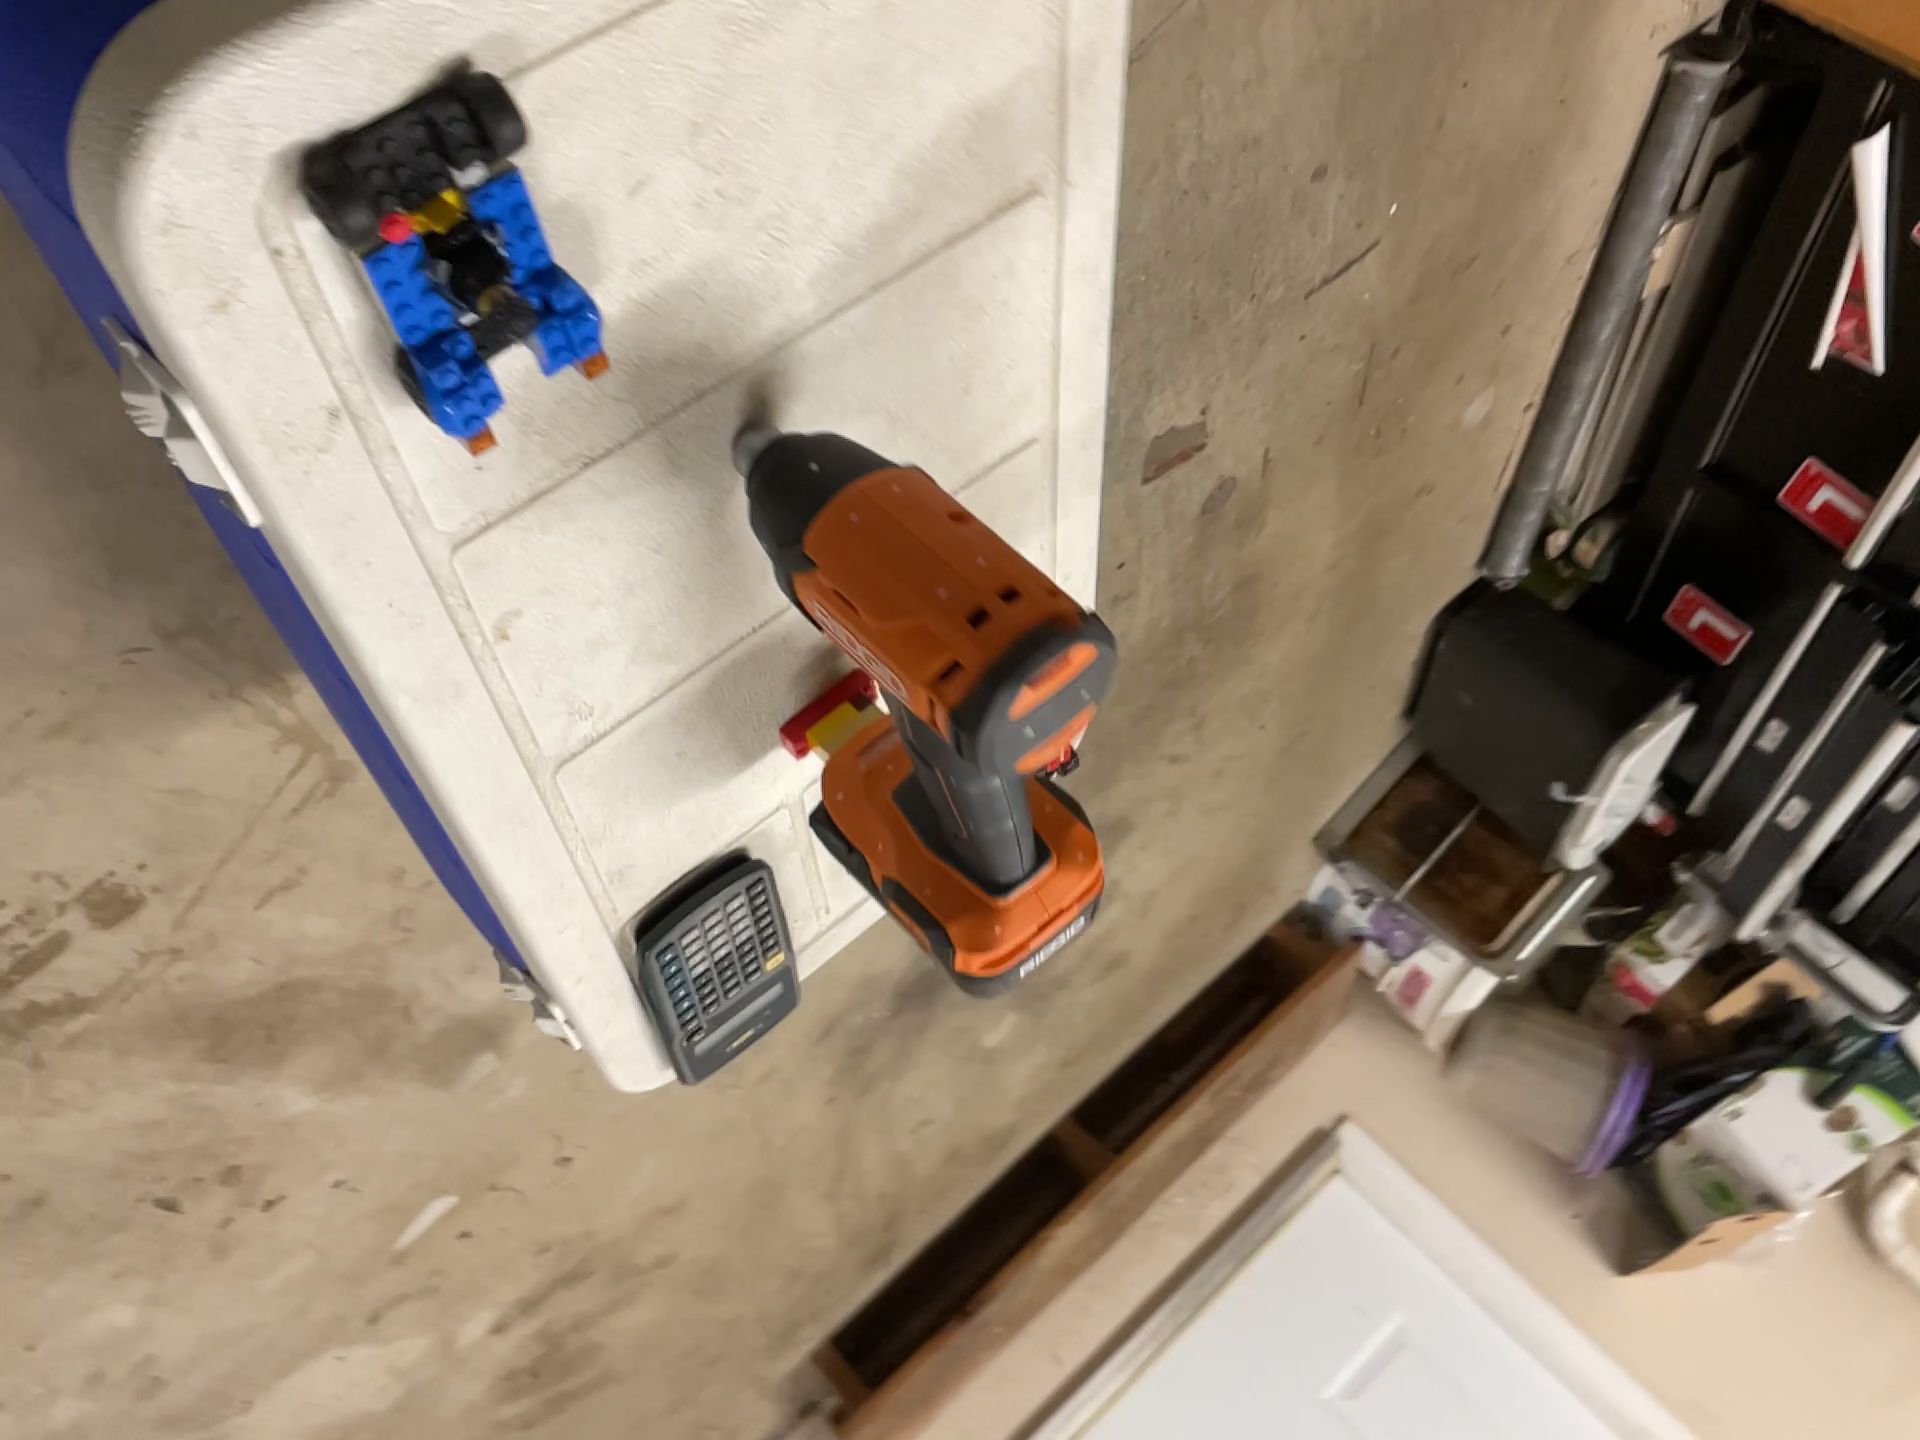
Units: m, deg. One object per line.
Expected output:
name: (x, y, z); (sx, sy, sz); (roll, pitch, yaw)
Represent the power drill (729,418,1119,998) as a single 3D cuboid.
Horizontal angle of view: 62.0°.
power drill: (-0.017, -0.006, 0.595); (0.084, 0.164, 0.226); (-37, 151, -19)
